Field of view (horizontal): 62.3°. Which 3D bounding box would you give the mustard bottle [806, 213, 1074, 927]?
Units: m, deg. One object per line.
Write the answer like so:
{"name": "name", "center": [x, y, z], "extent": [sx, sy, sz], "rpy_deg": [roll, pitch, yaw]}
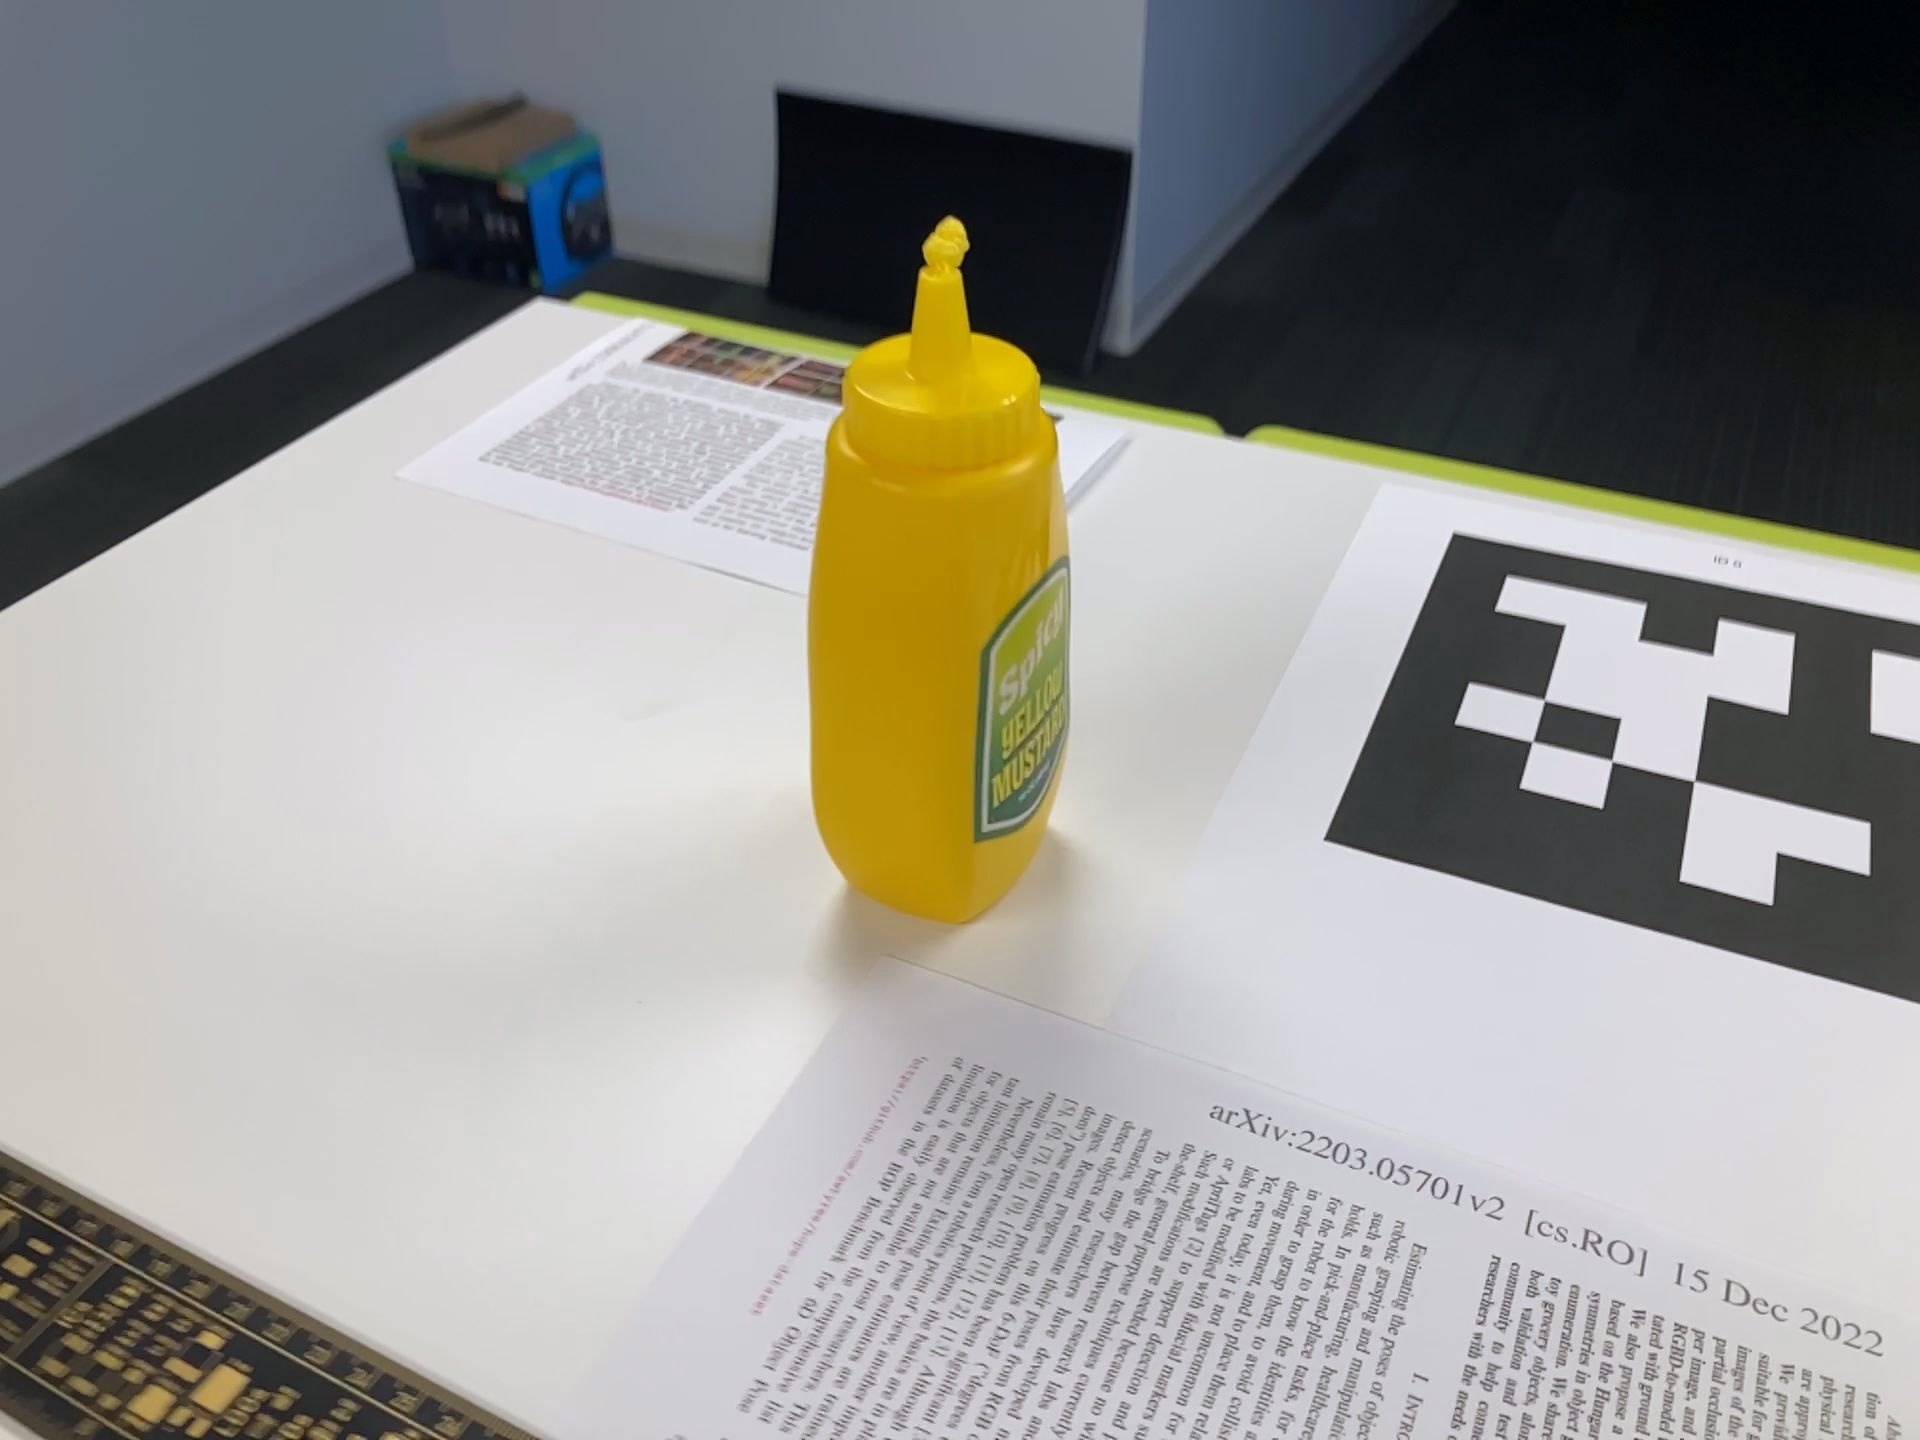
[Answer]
{"name": "mustard bottle", "center": [-0.004, -0.029, 0.344], "extent": [0.049, 0.160, 0.065], "rpy_deg": [19, 43, 23]}
